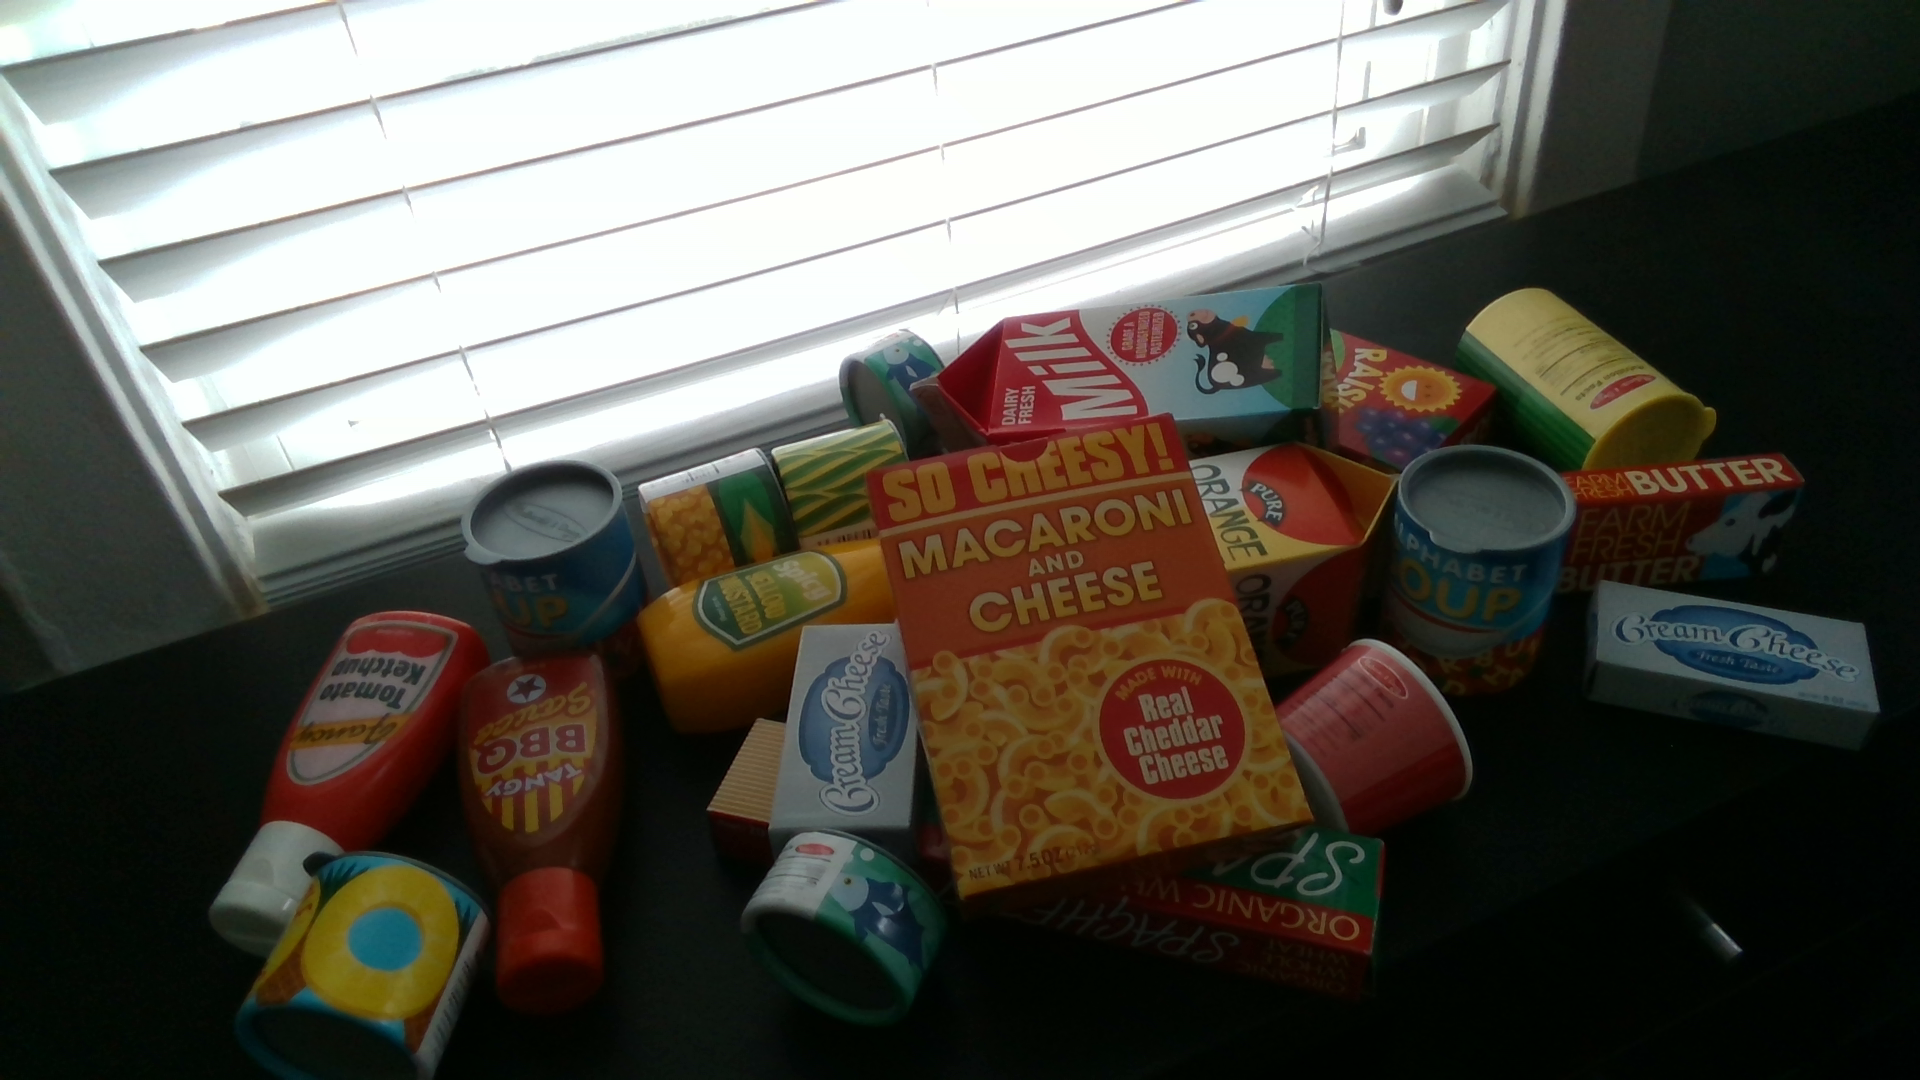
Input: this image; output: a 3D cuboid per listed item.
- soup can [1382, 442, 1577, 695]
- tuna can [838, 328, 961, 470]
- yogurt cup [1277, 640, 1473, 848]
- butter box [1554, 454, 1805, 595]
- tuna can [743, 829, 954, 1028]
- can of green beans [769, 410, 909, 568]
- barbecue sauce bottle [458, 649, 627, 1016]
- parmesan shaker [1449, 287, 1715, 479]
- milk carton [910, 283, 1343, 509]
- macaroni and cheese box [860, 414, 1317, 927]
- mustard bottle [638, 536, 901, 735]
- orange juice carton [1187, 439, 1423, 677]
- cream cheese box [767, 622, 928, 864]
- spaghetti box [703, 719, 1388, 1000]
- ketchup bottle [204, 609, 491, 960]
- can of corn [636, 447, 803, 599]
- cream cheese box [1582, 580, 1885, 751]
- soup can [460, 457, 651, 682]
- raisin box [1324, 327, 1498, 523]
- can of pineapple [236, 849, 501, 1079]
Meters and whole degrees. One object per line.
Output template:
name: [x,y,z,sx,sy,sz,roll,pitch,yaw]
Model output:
soup can: [0.208,0.014,0.568,0.071,0.083,0.072,-4,40,3]
tuna can: [-0.030,-0.068,0.702,0.033,0.070,0.071,-28,46,-24]
yogurt cup: [0.148,0.079,0.518,0.054,0.072,0.072,-28,45,-12]
butter box: [0.305,-0.006,0.603,0.103,0.052,0.024,-5,38,-1]
tuna can: [-0.037,0.134,0.472,0.071,0.070,0.033,16,46,22]
can of green beans: [-0.053,-0.019,0.647,0.058,0.071,0.071,-14,42,-9]
barbecue sauce bottle: [-0.158,0.107,0.530,0.065,0.043,0.149,-13,41,-8]
parmesan shaker: [0.295,-0.070,0.668,0.071,0.071,0.103,-16,42,-13]
milk carton: [0.077,-0.060,0.649,0.190,0.072,0.074,-4,57,21]
macaroni and cheese box: [0.040,0.040,0.501,0.124,0.040,0.167,-11,62,-7]
mustard bottle: [-0.056,0.031,0.604,0.161,0.048,0.065,-21,44,-18]
orange juice carton: [0.099,0.014,0.584,0.193,0.071,0.073,-10,43,-9]
cream cheese box: [-0.039,0.075,0.526,0.053,0.024,0.104,-3,41,5]
spaghetti box: [0.029,0.114,0.512,0.250,0.028,0.050,9,41,16]
ketchup bottle: [-0.244,0.093,0.554,0.065,0.043,0.149,2,42,10]
can of corn: [-0.108,0.000,0.634,0.058,0.070,0.071,-20,43,-16]
cream cheese box: [0.310,0.049,0.564,0.104,0.024,0.054,10,41,15]
soup can: [-0.173,0.018,0.602,0.071,0.083,0.072,-3,41,3]
raisin box: [0.189,-0.062,0.692,0.123,0.039,0.086,29,51,33]
can of pineapple: [-0.200,0.147,0.469,0.071,0.070,0.058,2,41,9]
